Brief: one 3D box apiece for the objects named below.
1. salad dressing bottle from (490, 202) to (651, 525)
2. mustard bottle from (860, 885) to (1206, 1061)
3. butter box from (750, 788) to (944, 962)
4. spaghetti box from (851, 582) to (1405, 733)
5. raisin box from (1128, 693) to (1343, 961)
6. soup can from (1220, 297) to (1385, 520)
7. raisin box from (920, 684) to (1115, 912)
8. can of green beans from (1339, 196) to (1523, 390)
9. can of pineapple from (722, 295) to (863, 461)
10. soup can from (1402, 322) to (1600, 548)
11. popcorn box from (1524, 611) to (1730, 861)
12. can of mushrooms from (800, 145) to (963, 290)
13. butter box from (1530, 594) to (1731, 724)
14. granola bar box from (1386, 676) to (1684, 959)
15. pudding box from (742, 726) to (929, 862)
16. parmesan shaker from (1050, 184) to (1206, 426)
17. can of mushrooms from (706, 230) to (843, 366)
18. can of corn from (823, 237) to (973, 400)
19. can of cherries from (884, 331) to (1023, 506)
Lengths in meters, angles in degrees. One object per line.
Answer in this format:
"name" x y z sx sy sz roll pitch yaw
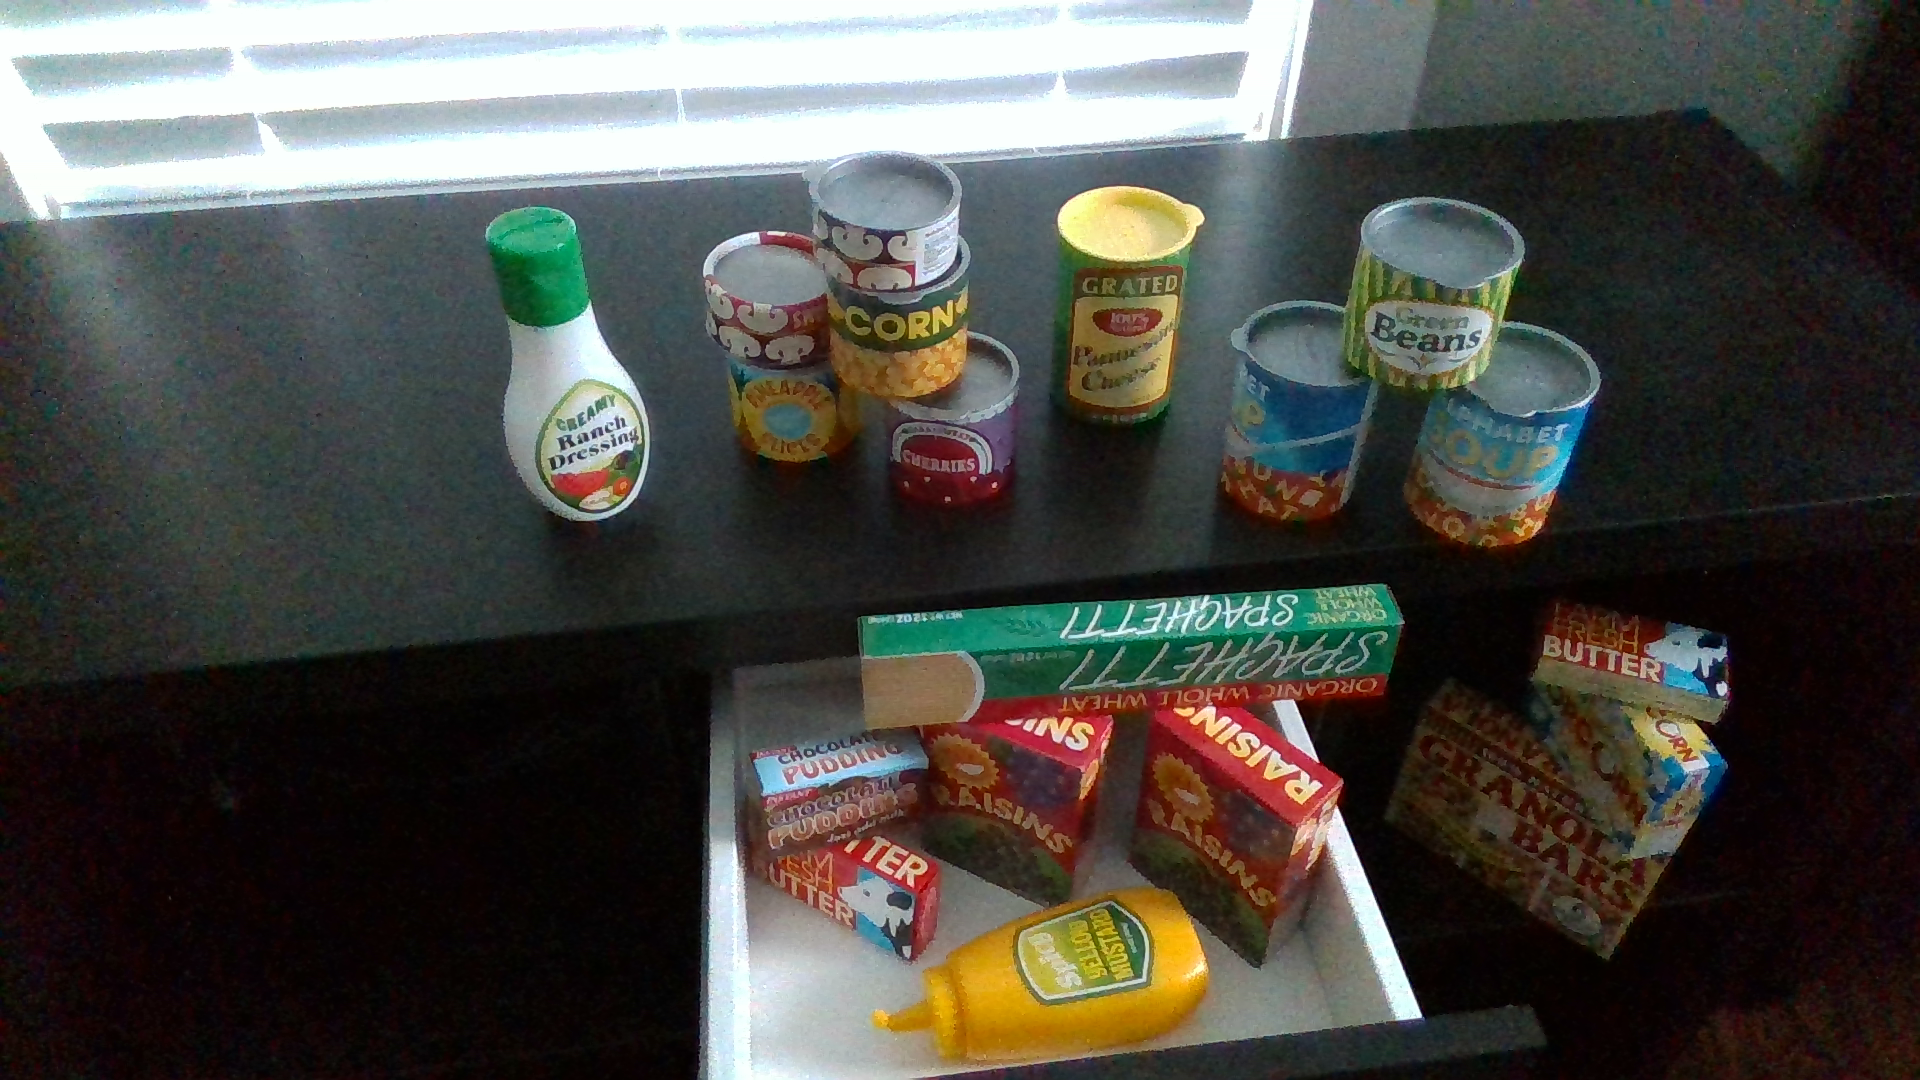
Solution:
"salad dressing bottle" -0.175 -0.075 0.616 0.064 0.146 0.044 -26 48 -26
"mustard bottle" 0.032 0.209 0.647 0.160 0.048 0.065 -12 48 -15
"butter box" -0.058 0.162 0.686 0.103 0.052 0.024 23 39 23
"spaghetti box" 0.076 0.053 0.632 0.250 0.049 0.029 -3 39 -6
"raisin box" 0.128 0.136 0.669 0.040 0.122 0.086 -35 55 -29
"soup can" 0.156 -0.061 0.651 0.071 0.083 0.072 0 43 0
"raisin box" 0.026 0.121 0.680 0.086 0.122 0.040 20 47 19
"can of green beans" 0.201 -0.106 0.600 0.071 0.057 0.071 -1 44 1
"can of pineapple" -0.081 -0.079 0.685 0.071 0.057 0.071 0 44 0
"soup can" 0.245 -0.046 0.636 0.071 0.083 0.072 1 43 -1
"popcorn box" 0.393 0.114 0.829 0.038 0.084 0.127 -7 43 -8
"can of mushrooms" -0.035 -0.141 0.604 0.071 0.071 0.033 0 -43 -2
"butter box" 0.386 0.068 0.802 0.103 0.024 0.053 13 47 16
"granola bar box" 0.371 0.181 0.905 0.166 0.123 0.039 32 50 29
"pudding box" -0.059 0.118 0.660 0.084 0.049 0.030 -8 38 -21
"parmesan shaker" 0.082 -0.115 0.692 0.071 0.102 0.072 0 45 1
"can of mushrooms" -0.085 -0.115 0.659 0.071 0.071 0.033 0 -44 -6
"can of corn" -0.028 -0.104 0.632 0.071 0.058 0.071 1 43 -1
"can of cherries" -0.004 -0.057 0.663 0.071 0.058 0.072 0 44 0
